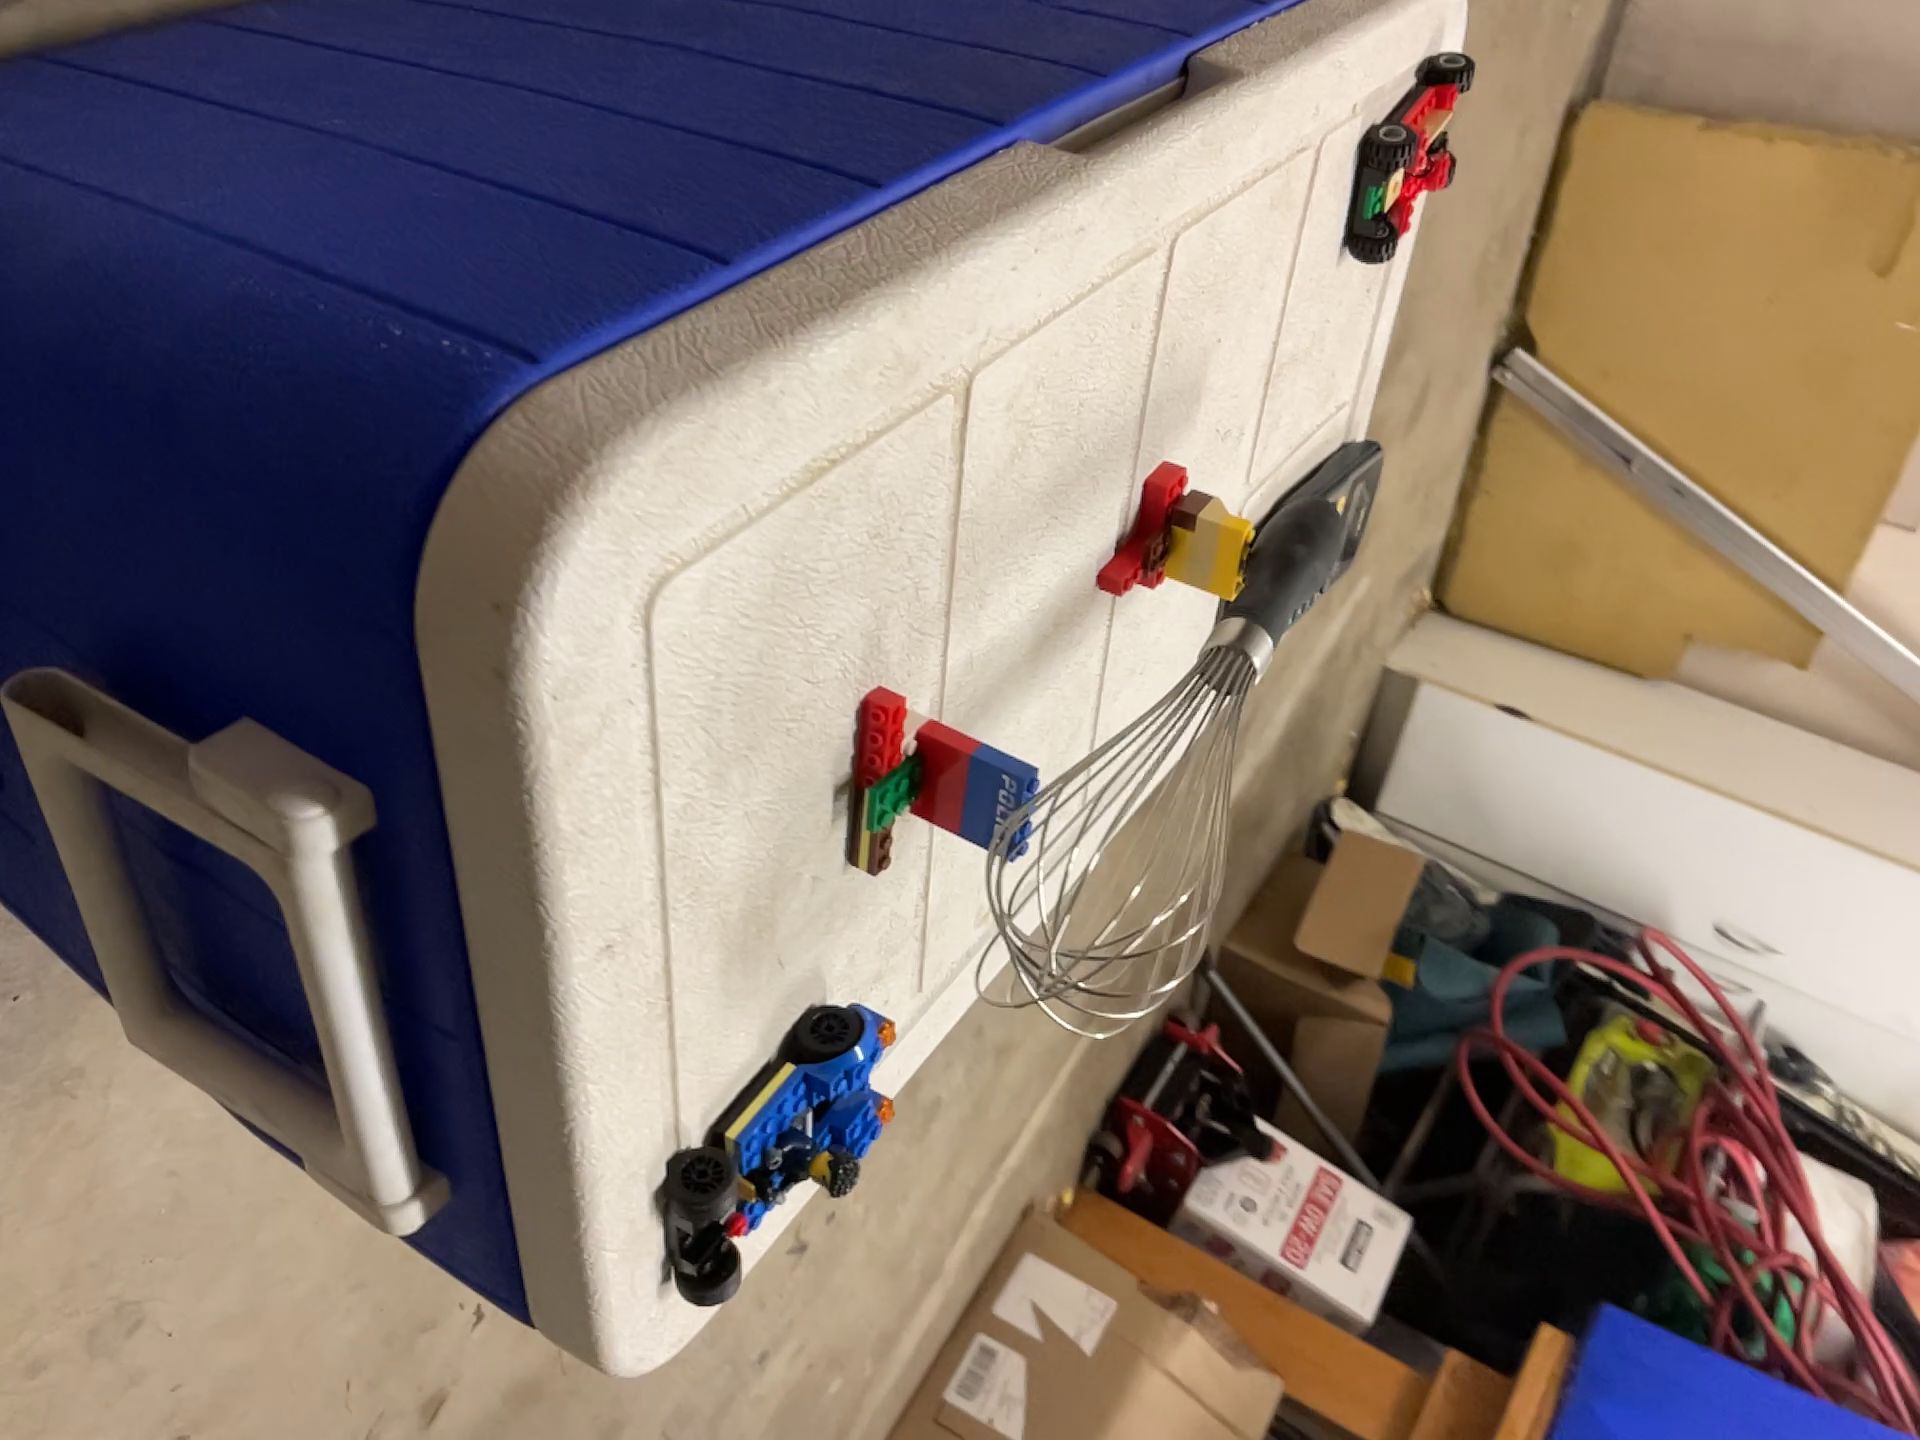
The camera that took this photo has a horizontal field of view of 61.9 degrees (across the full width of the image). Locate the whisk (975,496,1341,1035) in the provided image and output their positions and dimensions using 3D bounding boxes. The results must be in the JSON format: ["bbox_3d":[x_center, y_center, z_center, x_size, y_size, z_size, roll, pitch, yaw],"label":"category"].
[{"bbox_3d":[0.080,-0.004,0.521,0.285,0.070,0.070,-52,150,-46],"label":"whisk"}]
